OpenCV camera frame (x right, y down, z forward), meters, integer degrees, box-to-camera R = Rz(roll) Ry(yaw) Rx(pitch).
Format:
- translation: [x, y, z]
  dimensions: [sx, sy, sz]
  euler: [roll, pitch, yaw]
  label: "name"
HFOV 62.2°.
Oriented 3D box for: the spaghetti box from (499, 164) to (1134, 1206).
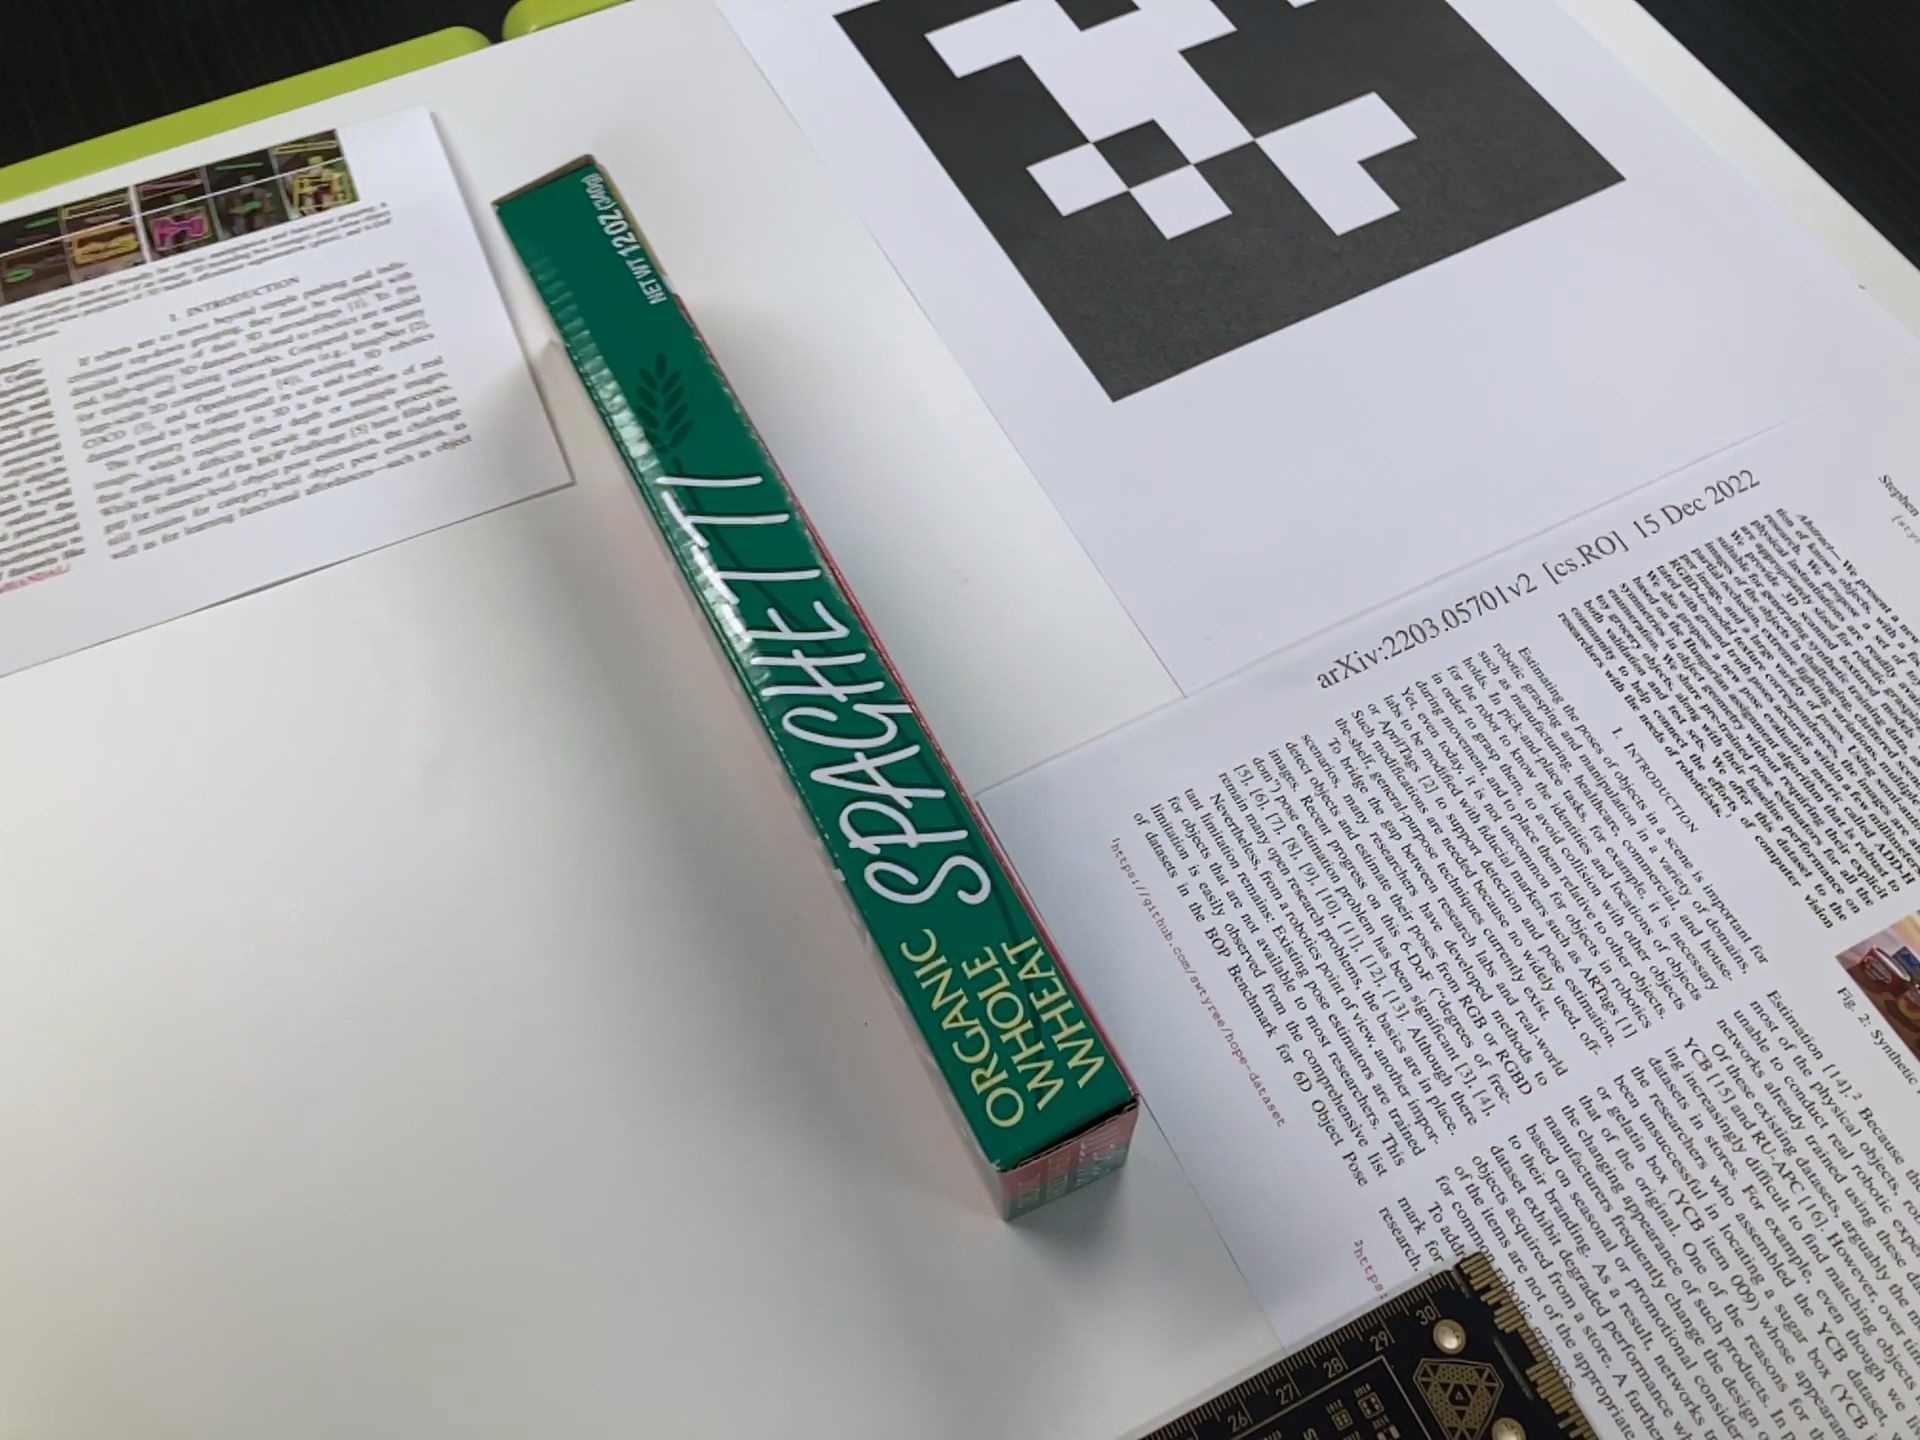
- translation: [-0.036, -0.017, 0.337]
  dimensions: [0.028, 0.050, 0.250]
  euler: [-26, 65, -8]
  label: "spaghetti box"
